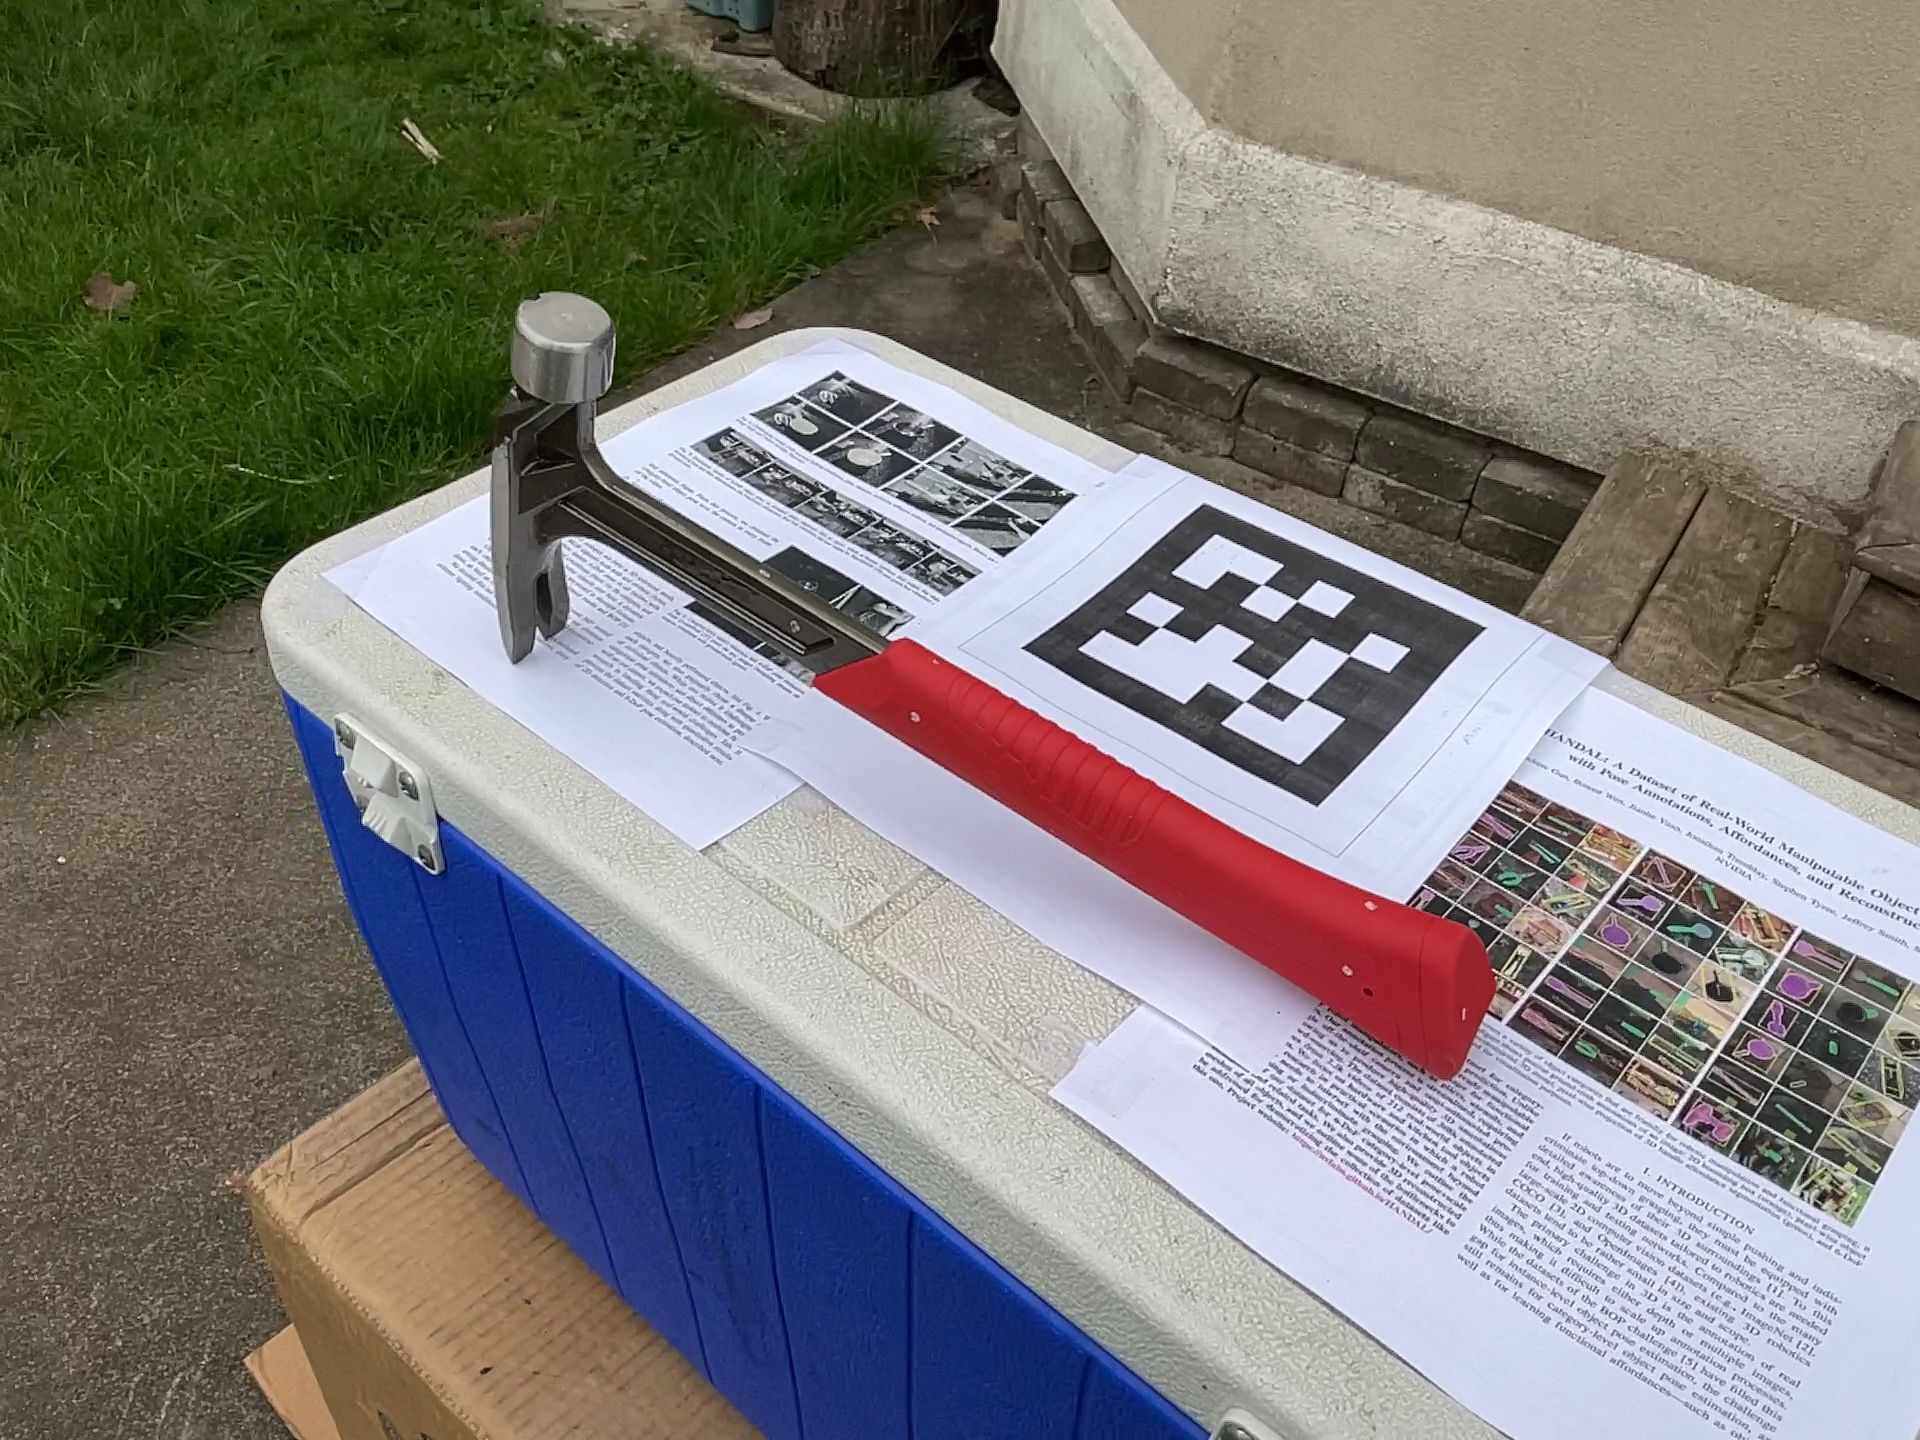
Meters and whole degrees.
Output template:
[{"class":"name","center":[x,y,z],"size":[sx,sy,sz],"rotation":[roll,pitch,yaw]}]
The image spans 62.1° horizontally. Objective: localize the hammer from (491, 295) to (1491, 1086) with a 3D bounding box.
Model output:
[{"class":"hammer","center":[-0.004,0.008,0.508],"size":[0.359,0.149,0.037],"rotation":[31,47,13]}]
